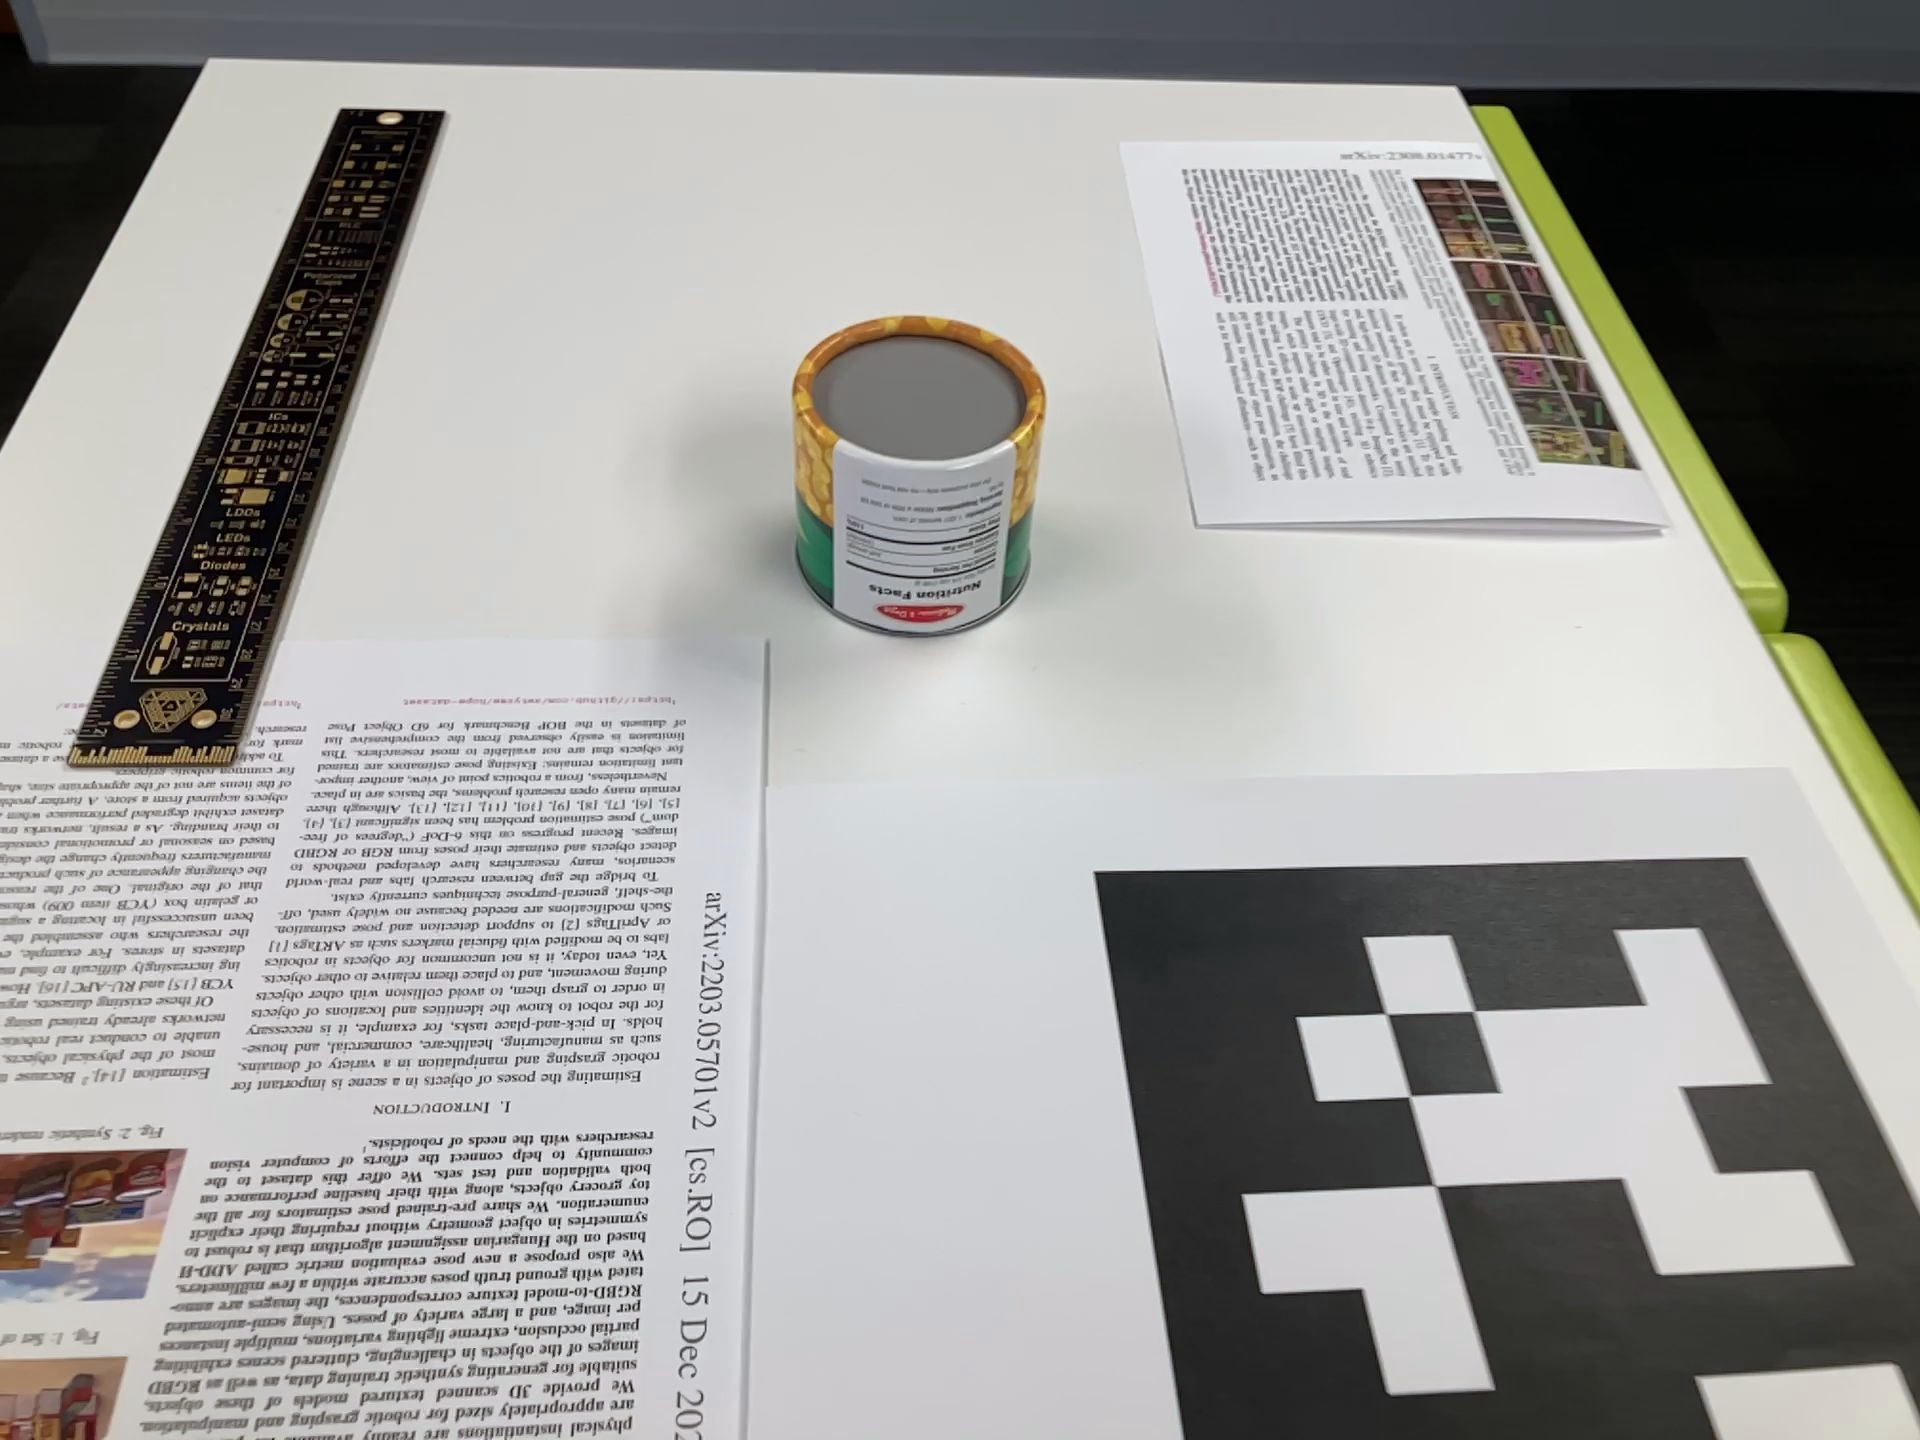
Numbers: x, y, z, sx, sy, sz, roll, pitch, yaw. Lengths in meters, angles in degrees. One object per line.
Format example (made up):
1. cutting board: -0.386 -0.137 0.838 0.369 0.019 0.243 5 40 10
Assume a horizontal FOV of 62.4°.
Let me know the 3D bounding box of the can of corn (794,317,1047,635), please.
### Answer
1. can of corn: -0.012 -0.068 0.431 0.071 0.058 0.071 2 48 -2
